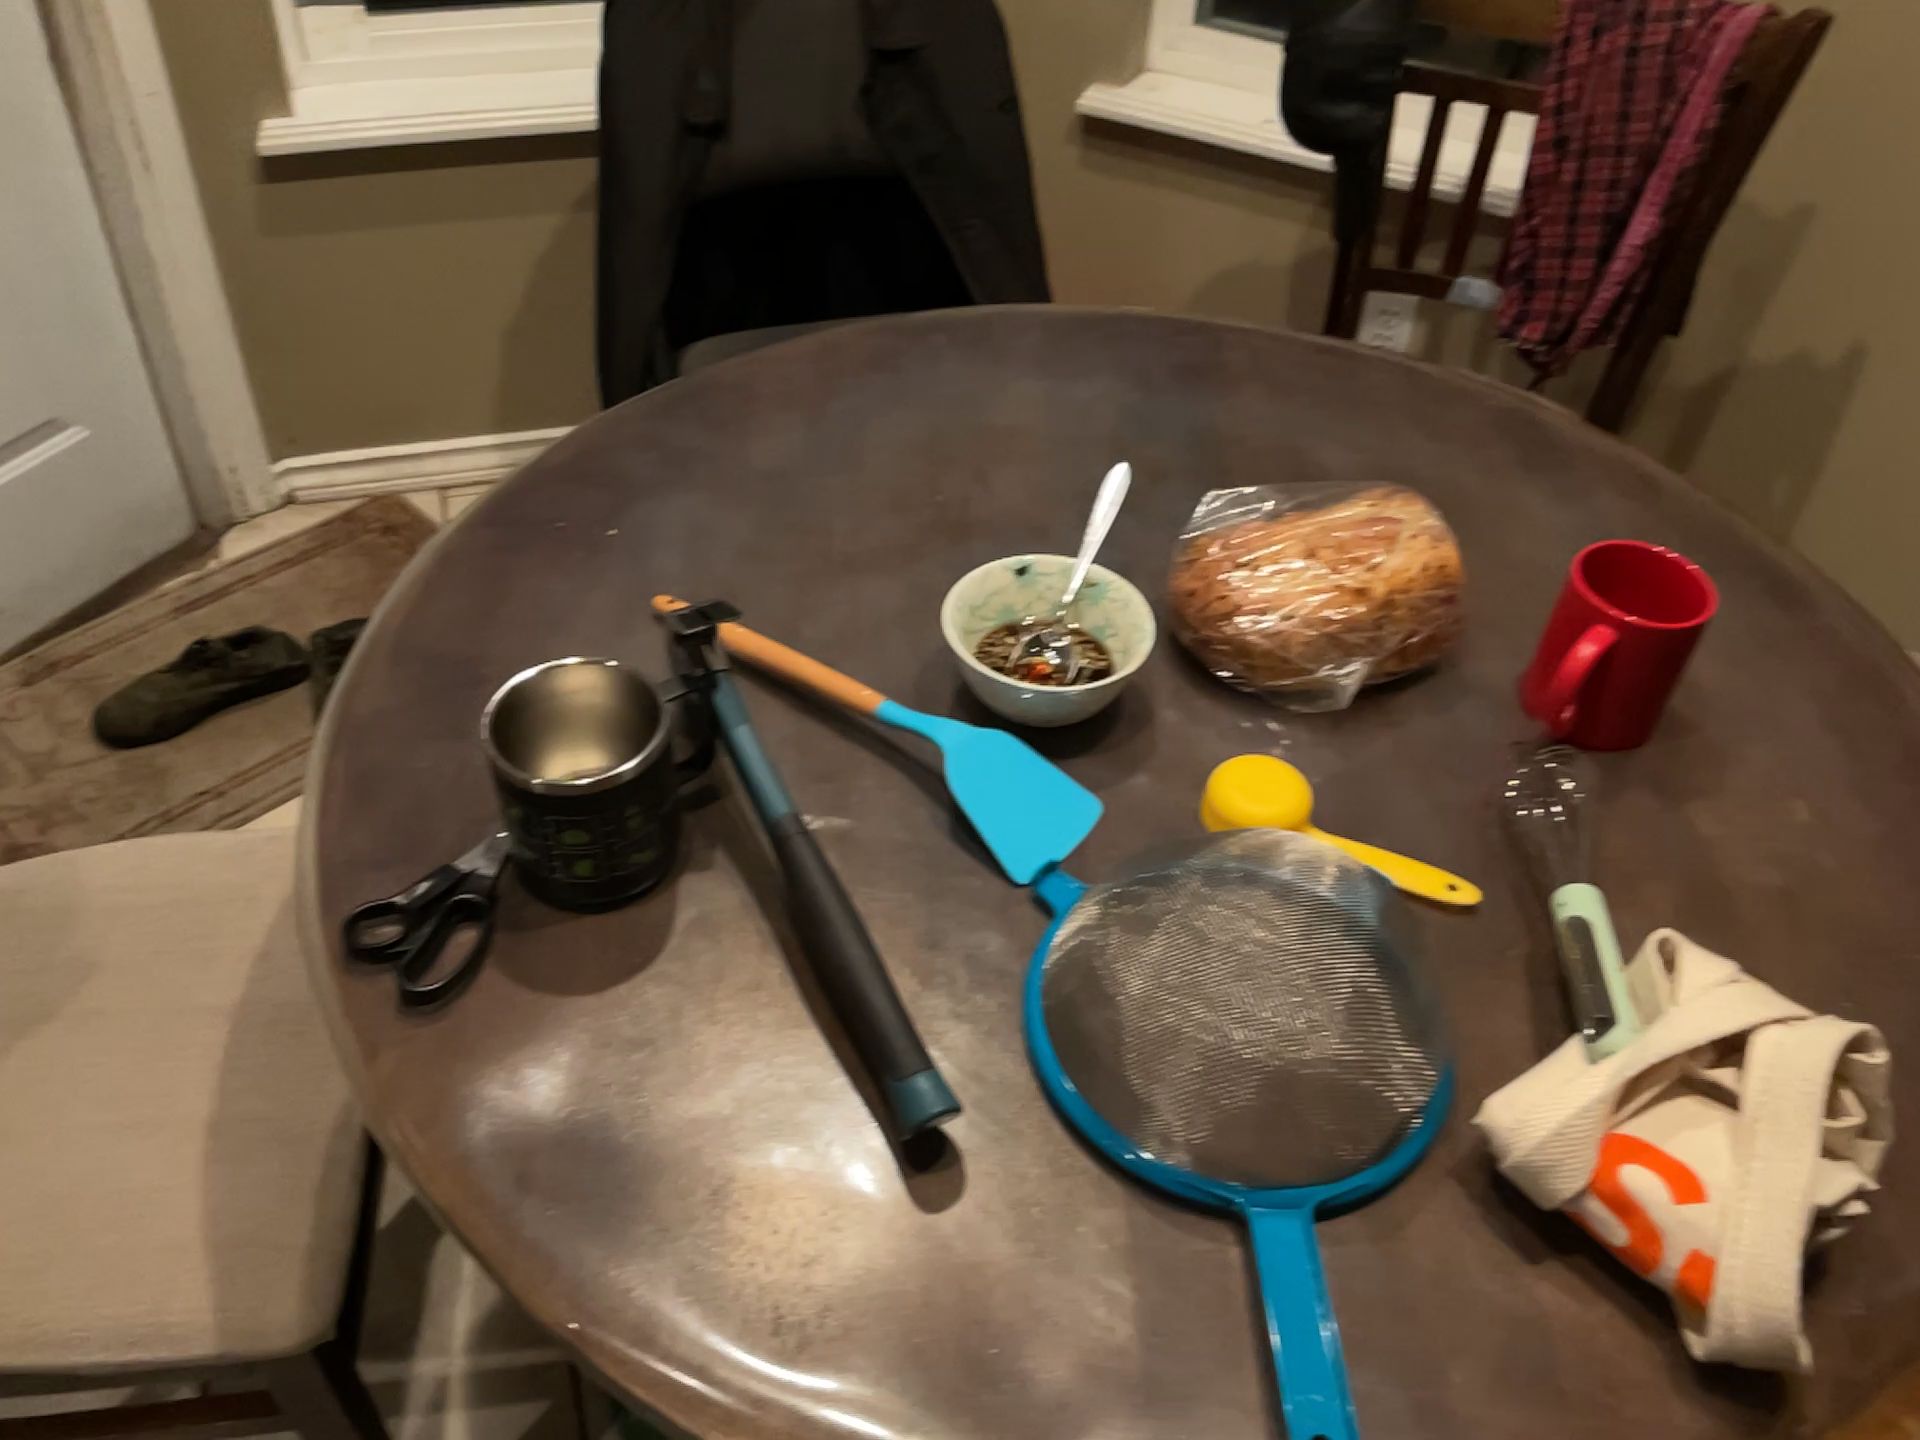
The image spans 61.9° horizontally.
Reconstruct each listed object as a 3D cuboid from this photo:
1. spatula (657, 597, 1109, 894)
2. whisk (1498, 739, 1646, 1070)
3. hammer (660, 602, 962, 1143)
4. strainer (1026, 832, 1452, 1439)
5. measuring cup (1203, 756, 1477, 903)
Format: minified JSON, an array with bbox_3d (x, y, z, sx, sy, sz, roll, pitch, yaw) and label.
[{"bbox_3d":[-0.062,-0.003,0.940,0.317,0.044,0.082,27,48,28],"label":"spatula"},{"bbox_3d":[0.317,0.087,0.829,0.059,0.057,0.246,33,32,-13],"label":"whisk"},{"bbox_3d":[-0.084,0.069,0.814,0.033,0.128,0.331,-19,56,-19],"label":"hammer"},{"bbox_3d":[0.142,0.162,0.724,0.211,0.095,0.341,0,39,-3],"label":"strainer"},{"bbox_3d":[0.210,0.061,0.882,0.156,0.029,0.062,21,45,19],"label":"measuring cup"}]
